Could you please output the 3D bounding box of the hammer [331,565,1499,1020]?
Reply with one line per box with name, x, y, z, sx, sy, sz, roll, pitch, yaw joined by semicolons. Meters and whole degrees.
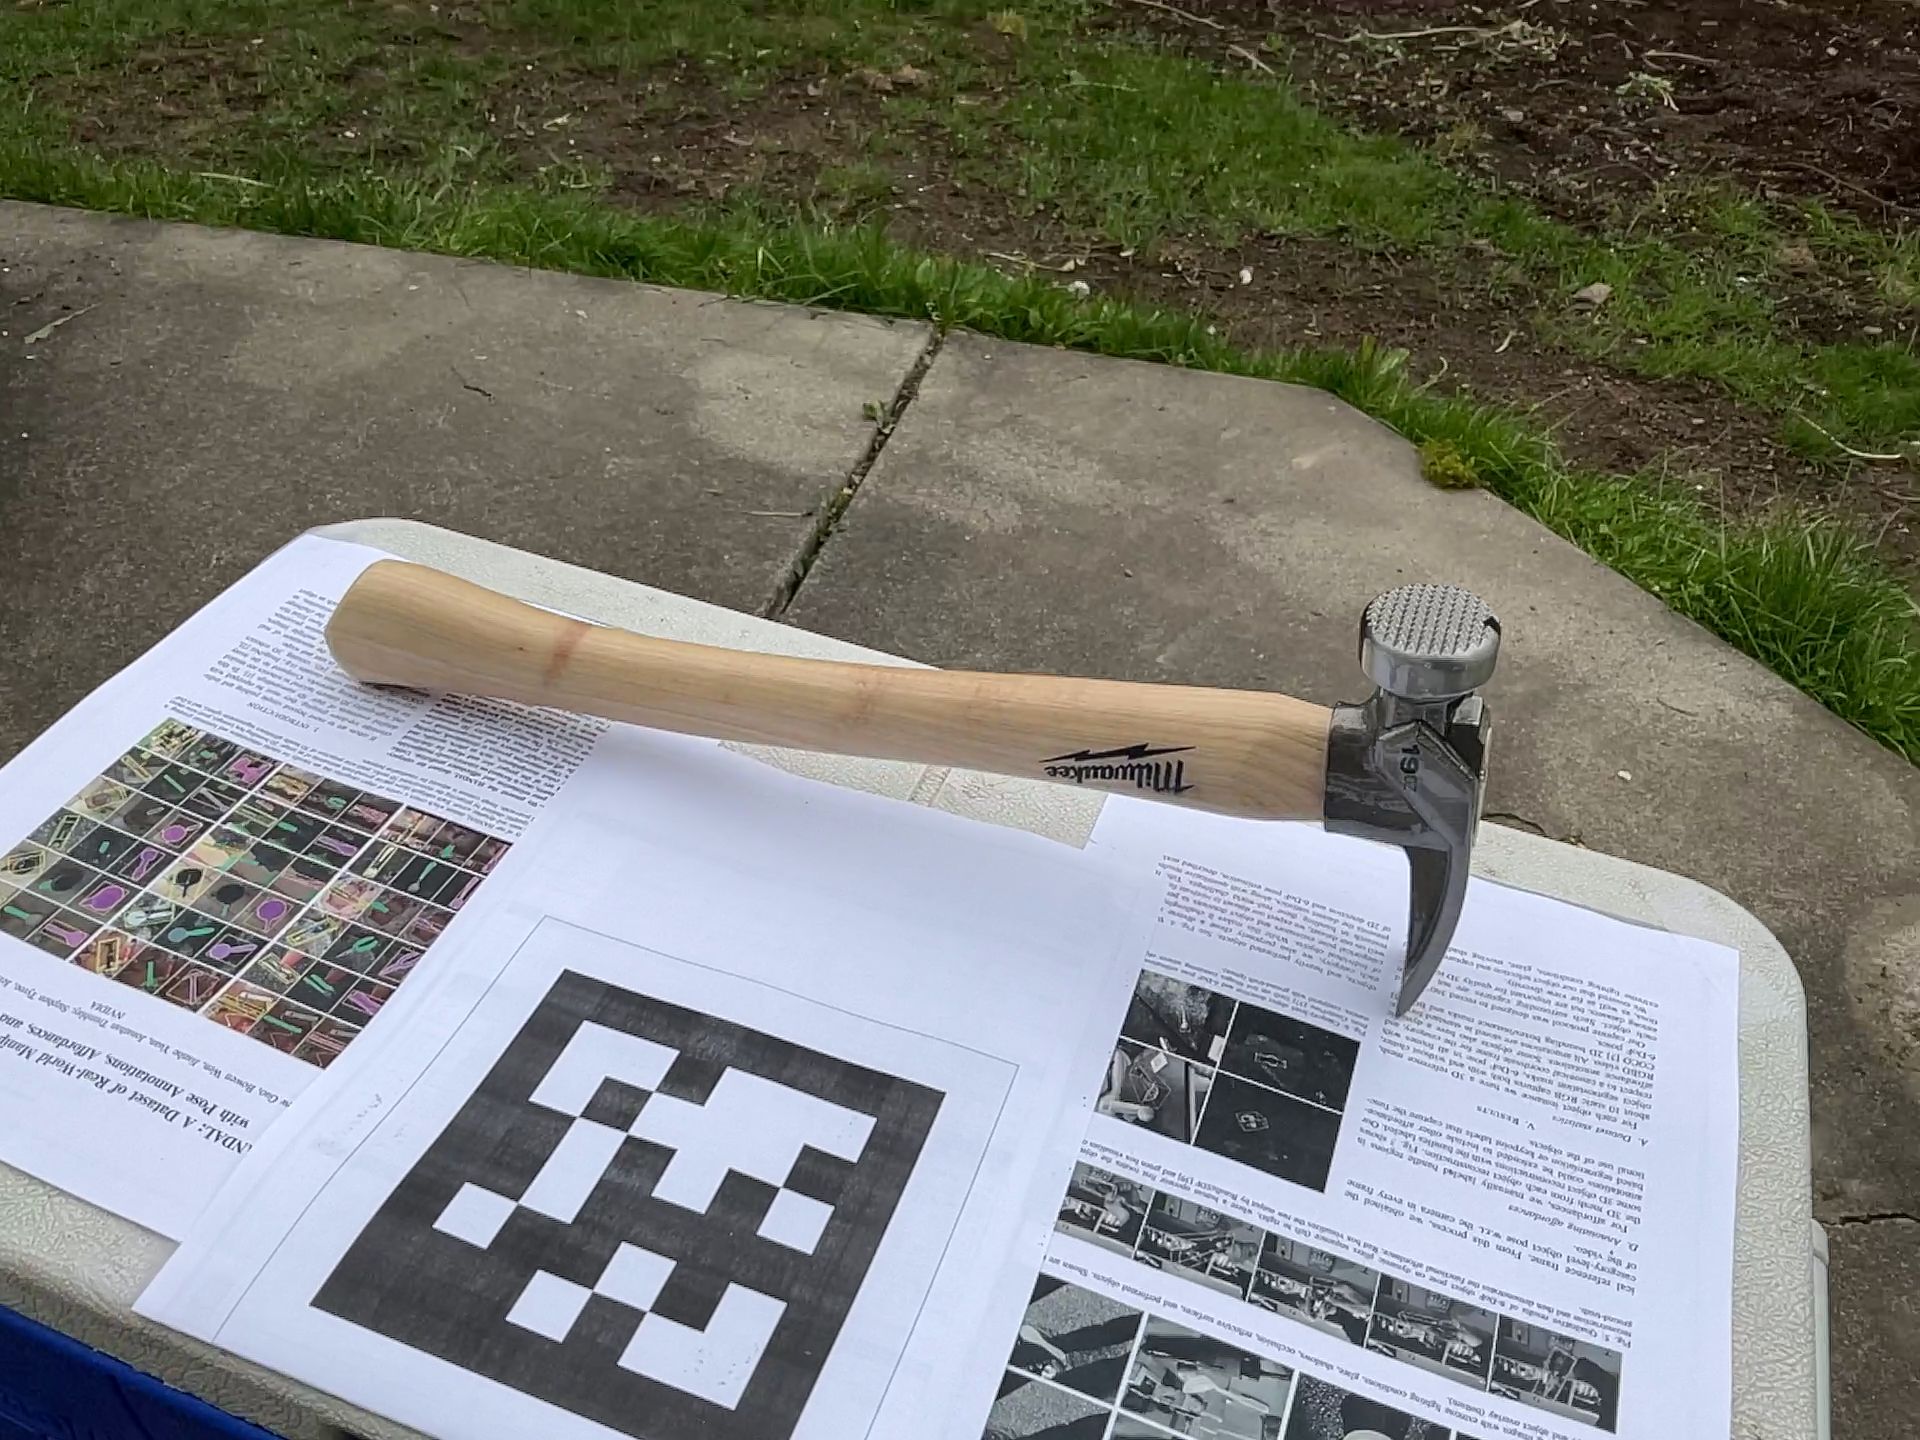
hammer;-0.036;0.005;0.547;0.410;0.146;0.038;8;39;20
